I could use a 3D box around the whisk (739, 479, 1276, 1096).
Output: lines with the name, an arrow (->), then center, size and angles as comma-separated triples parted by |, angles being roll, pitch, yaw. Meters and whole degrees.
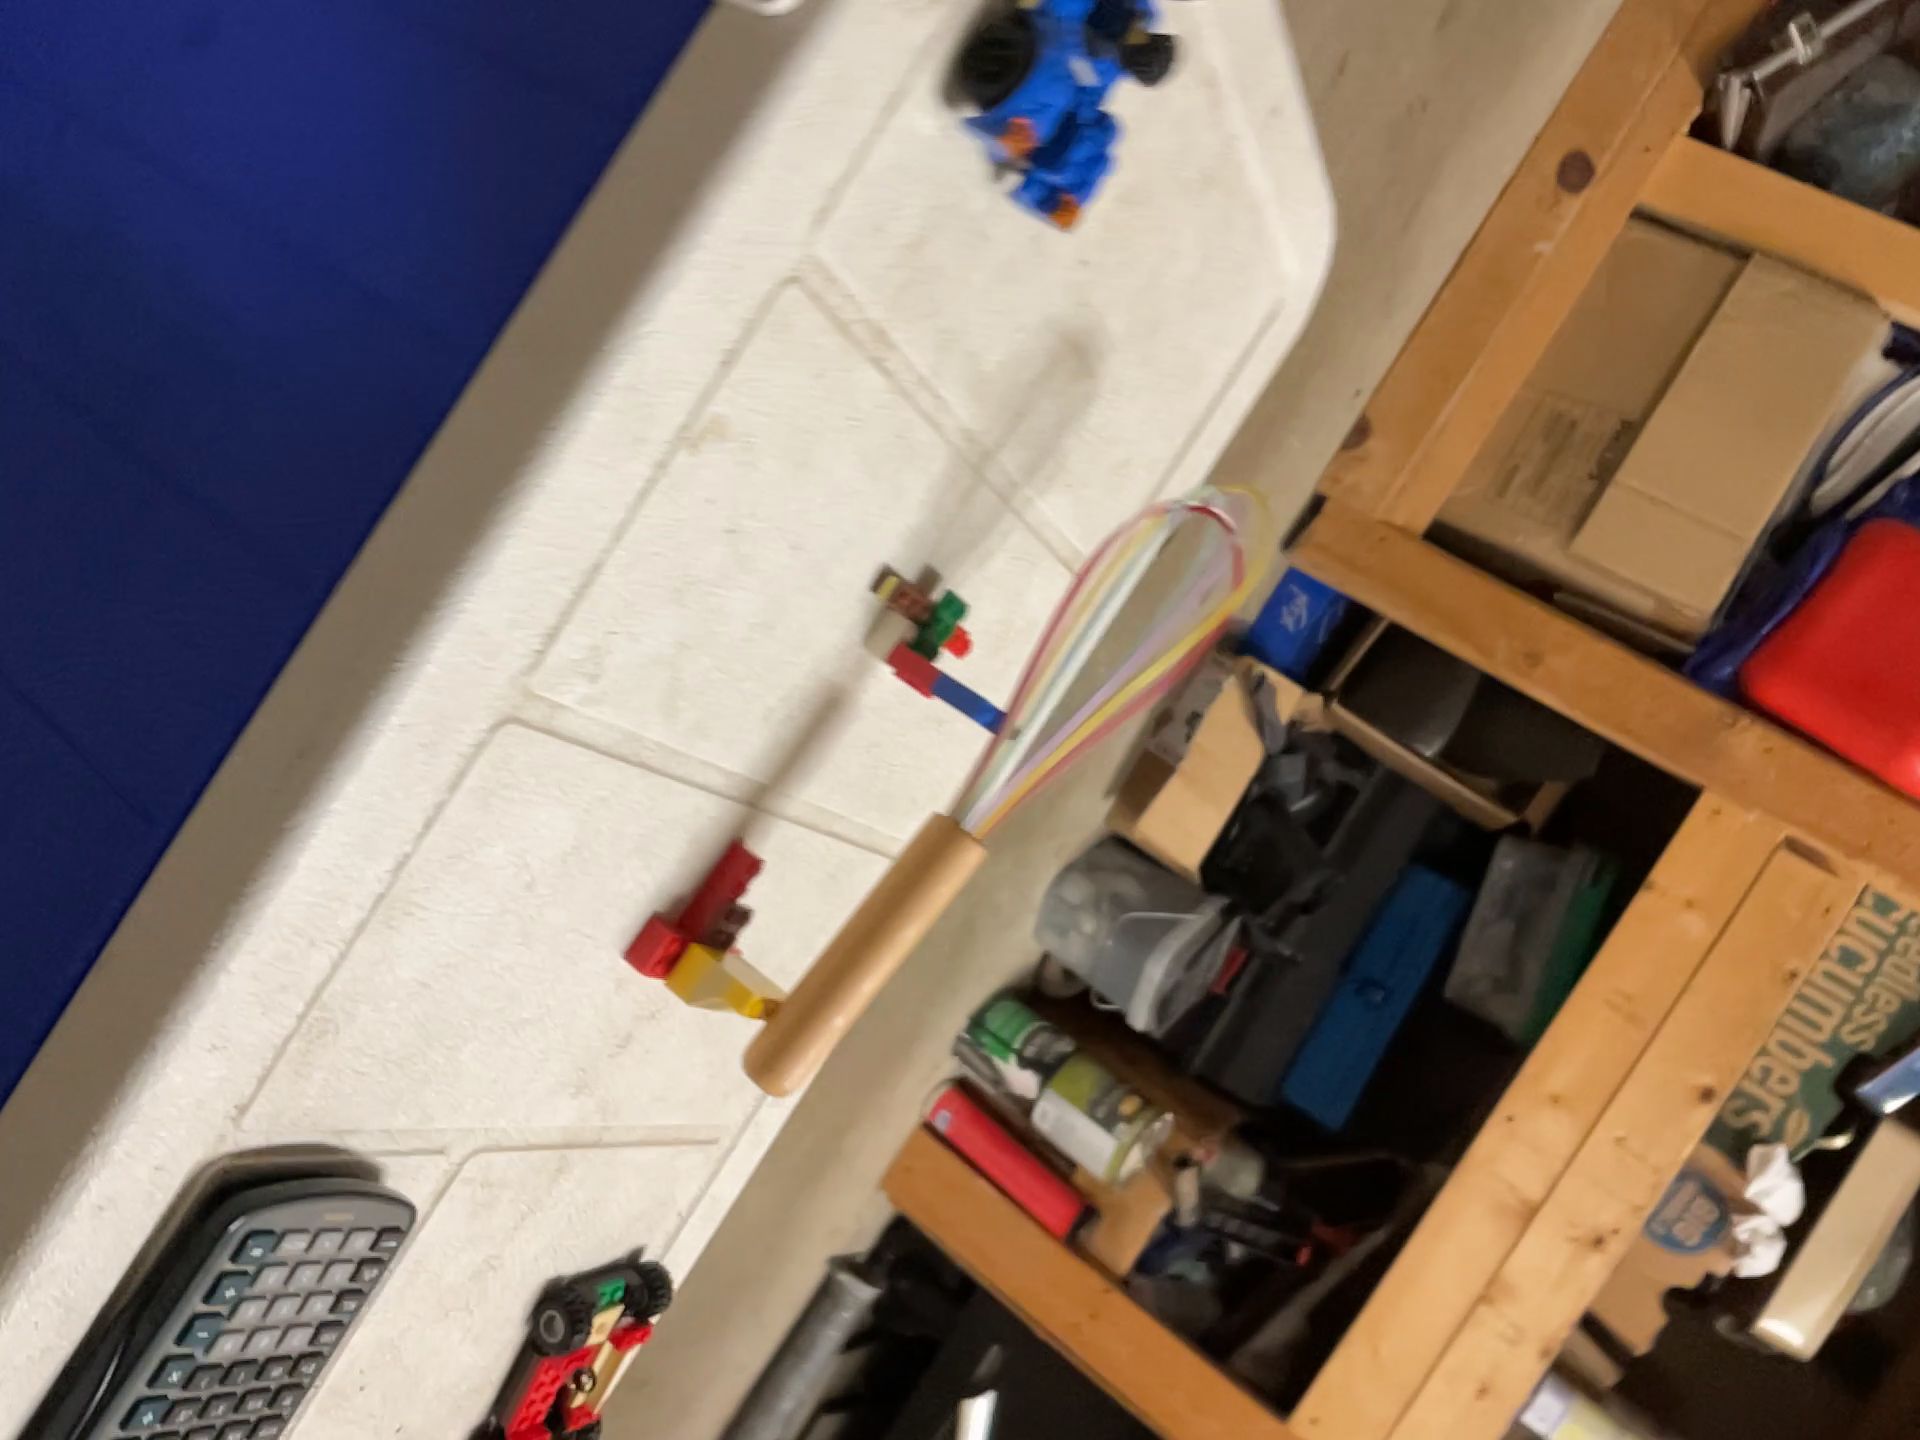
whisk -> 0.016, 0.018, 0.501 | 0.245, 0.047, 0.051 | -51, 167, -5
